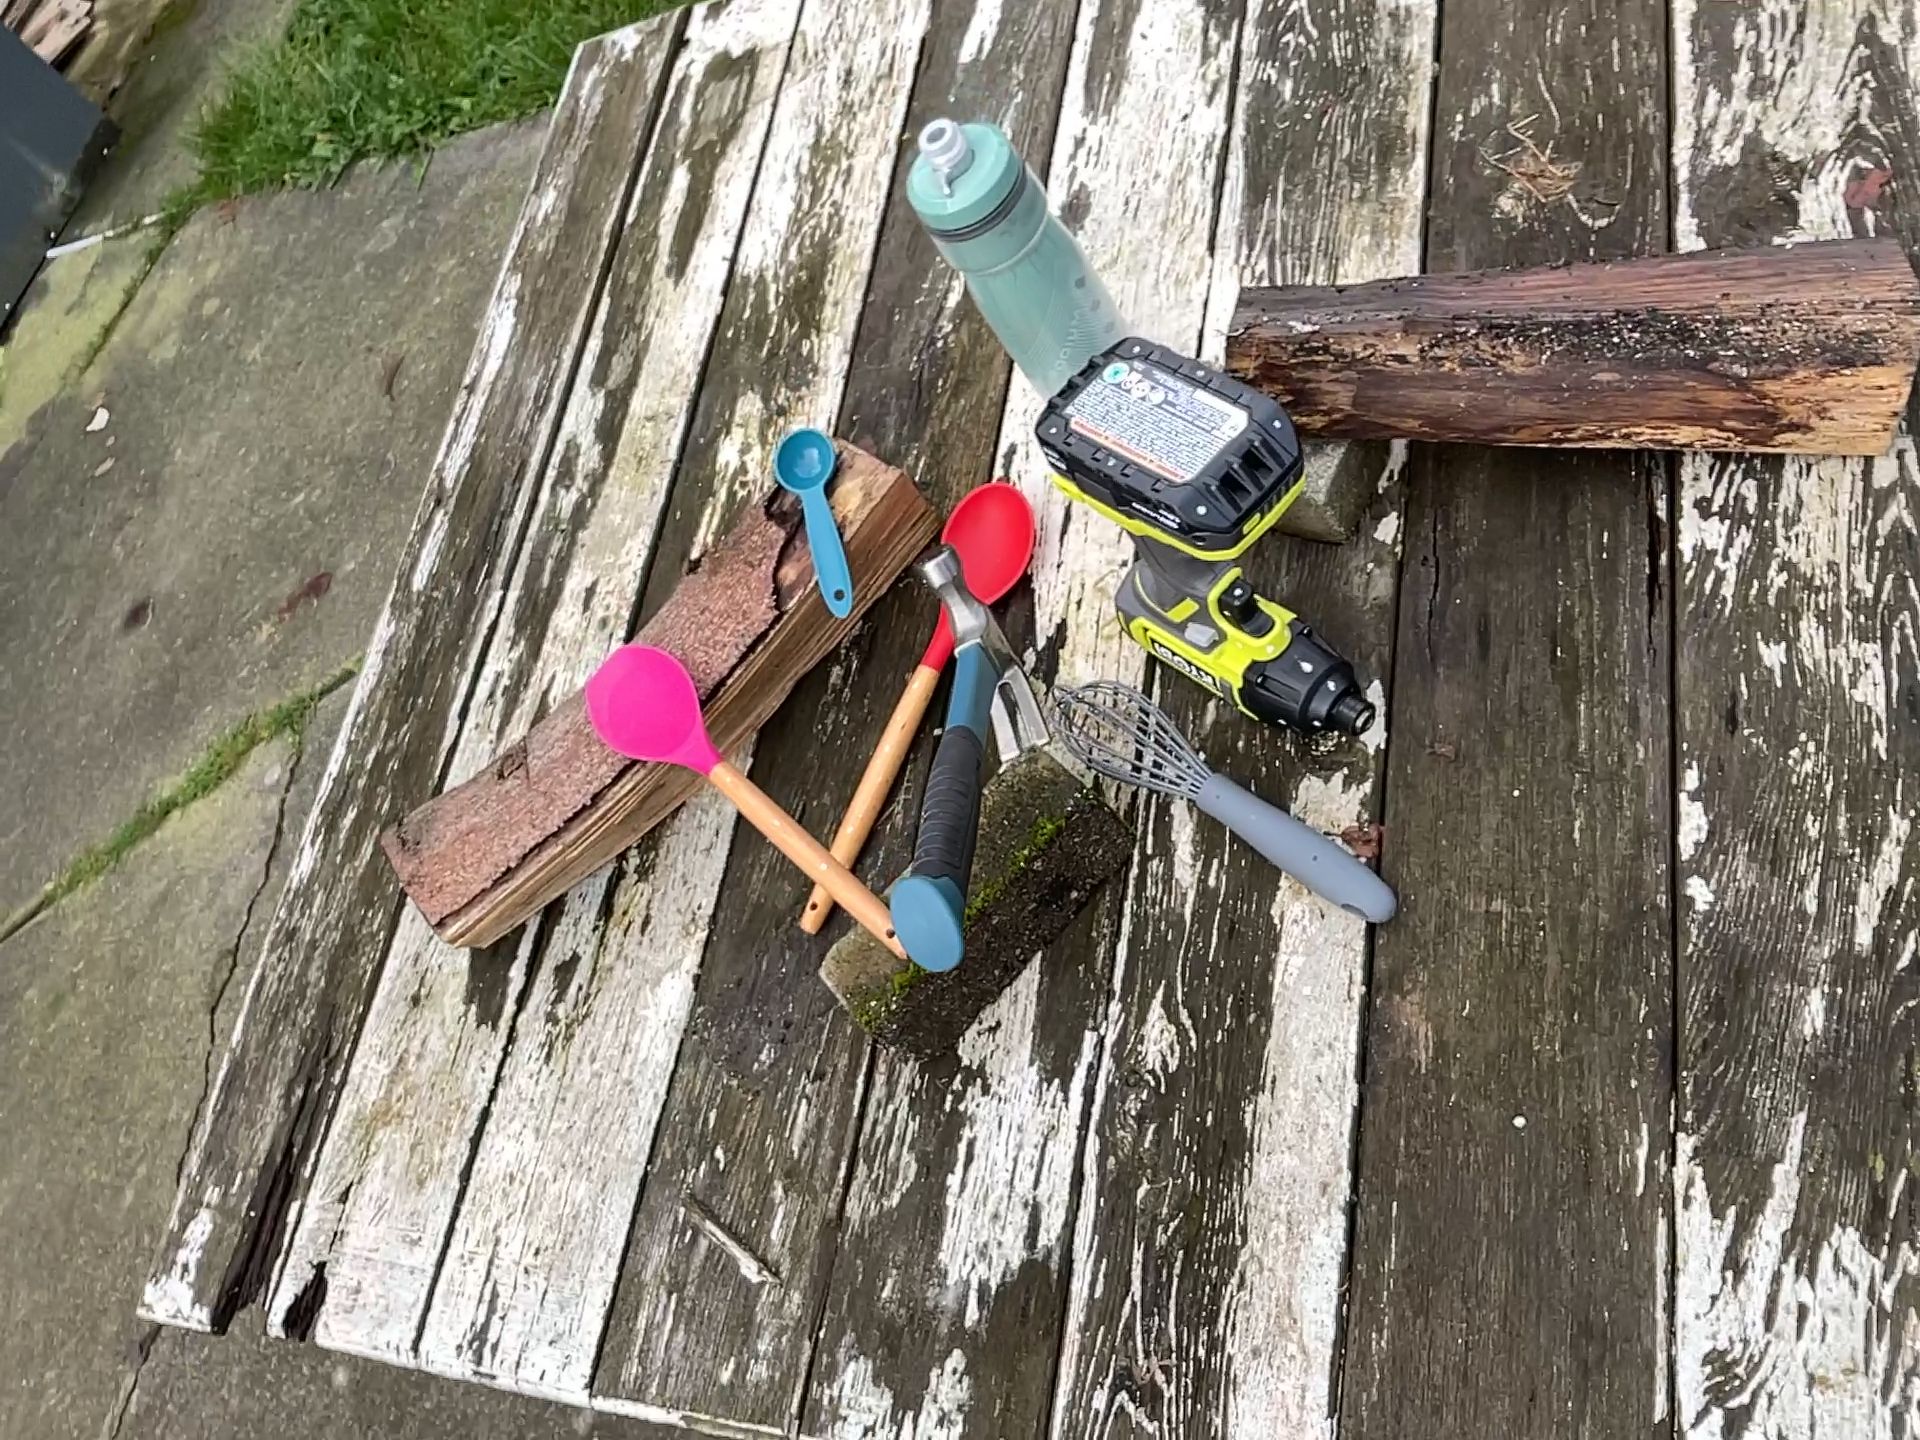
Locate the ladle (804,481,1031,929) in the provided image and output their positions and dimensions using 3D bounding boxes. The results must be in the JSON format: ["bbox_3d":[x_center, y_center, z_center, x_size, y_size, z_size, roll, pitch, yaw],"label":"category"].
[{"bbox_3d":[-0.030,-0.011,1.030,0.069,0.031,0.315,16,75,33],"label":"ladle"}]

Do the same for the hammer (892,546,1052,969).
[{"bbox_3d":[0.001,0.020,0.869,0.033,0.128,0.331,-26,22,18],"label":"hammer"}]

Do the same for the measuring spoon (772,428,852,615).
[{"bbox_3d":[-0.088,-0.126,1.029,0.042,0.021,0.129,-20,78,19],"label":"measuring spoon"}]

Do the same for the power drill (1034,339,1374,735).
[{"bbox_3d":[0.136,-0.083,0.850,0.080,0.222,0.171,-46,52,-10],"label":"power drill"}]

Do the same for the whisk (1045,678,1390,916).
[{"bbox_3d":[0.138,0.040,0.885,0.239,0.055,0.055,35,92,35],"label":"whisk"}]

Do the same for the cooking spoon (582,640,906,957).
[{"bbox_3d":[-0.132,0.043,0.956,0.069,0.017,0.319,-49,56,-4],"label":"cooking spoon"}]
